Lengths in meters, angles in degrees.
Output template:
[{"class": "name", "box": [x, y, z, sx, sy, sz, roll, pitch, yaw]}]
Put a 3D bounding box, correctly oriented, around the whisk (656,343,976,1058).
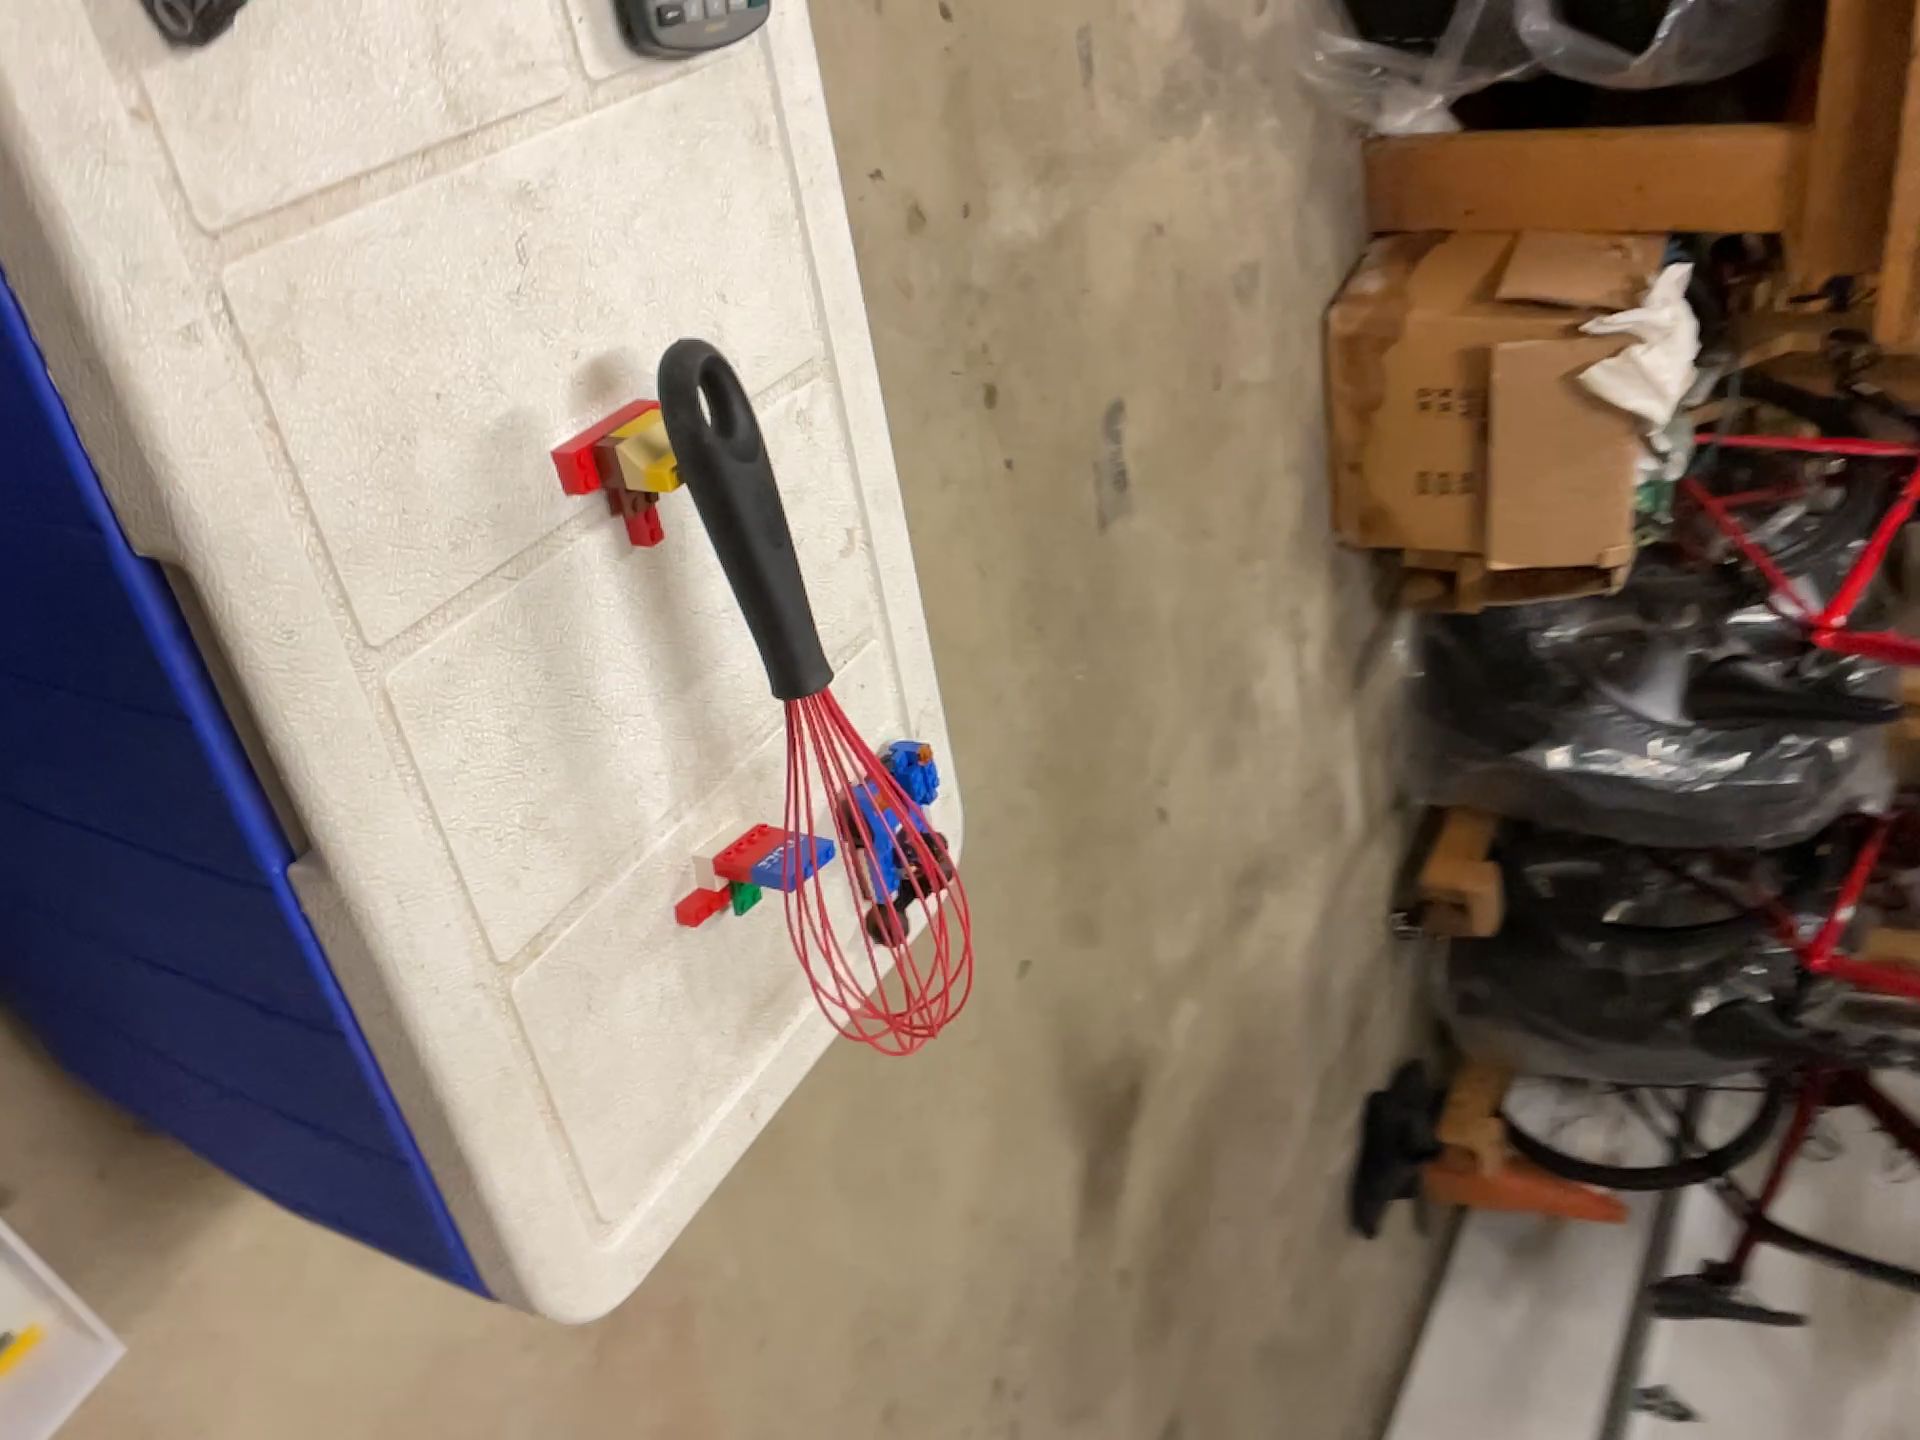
[{"class": "whisk", "box": [-0.053, 0.004, 0.590, 0.073, 0.073, 0.295, -43, 125, -44]}]
